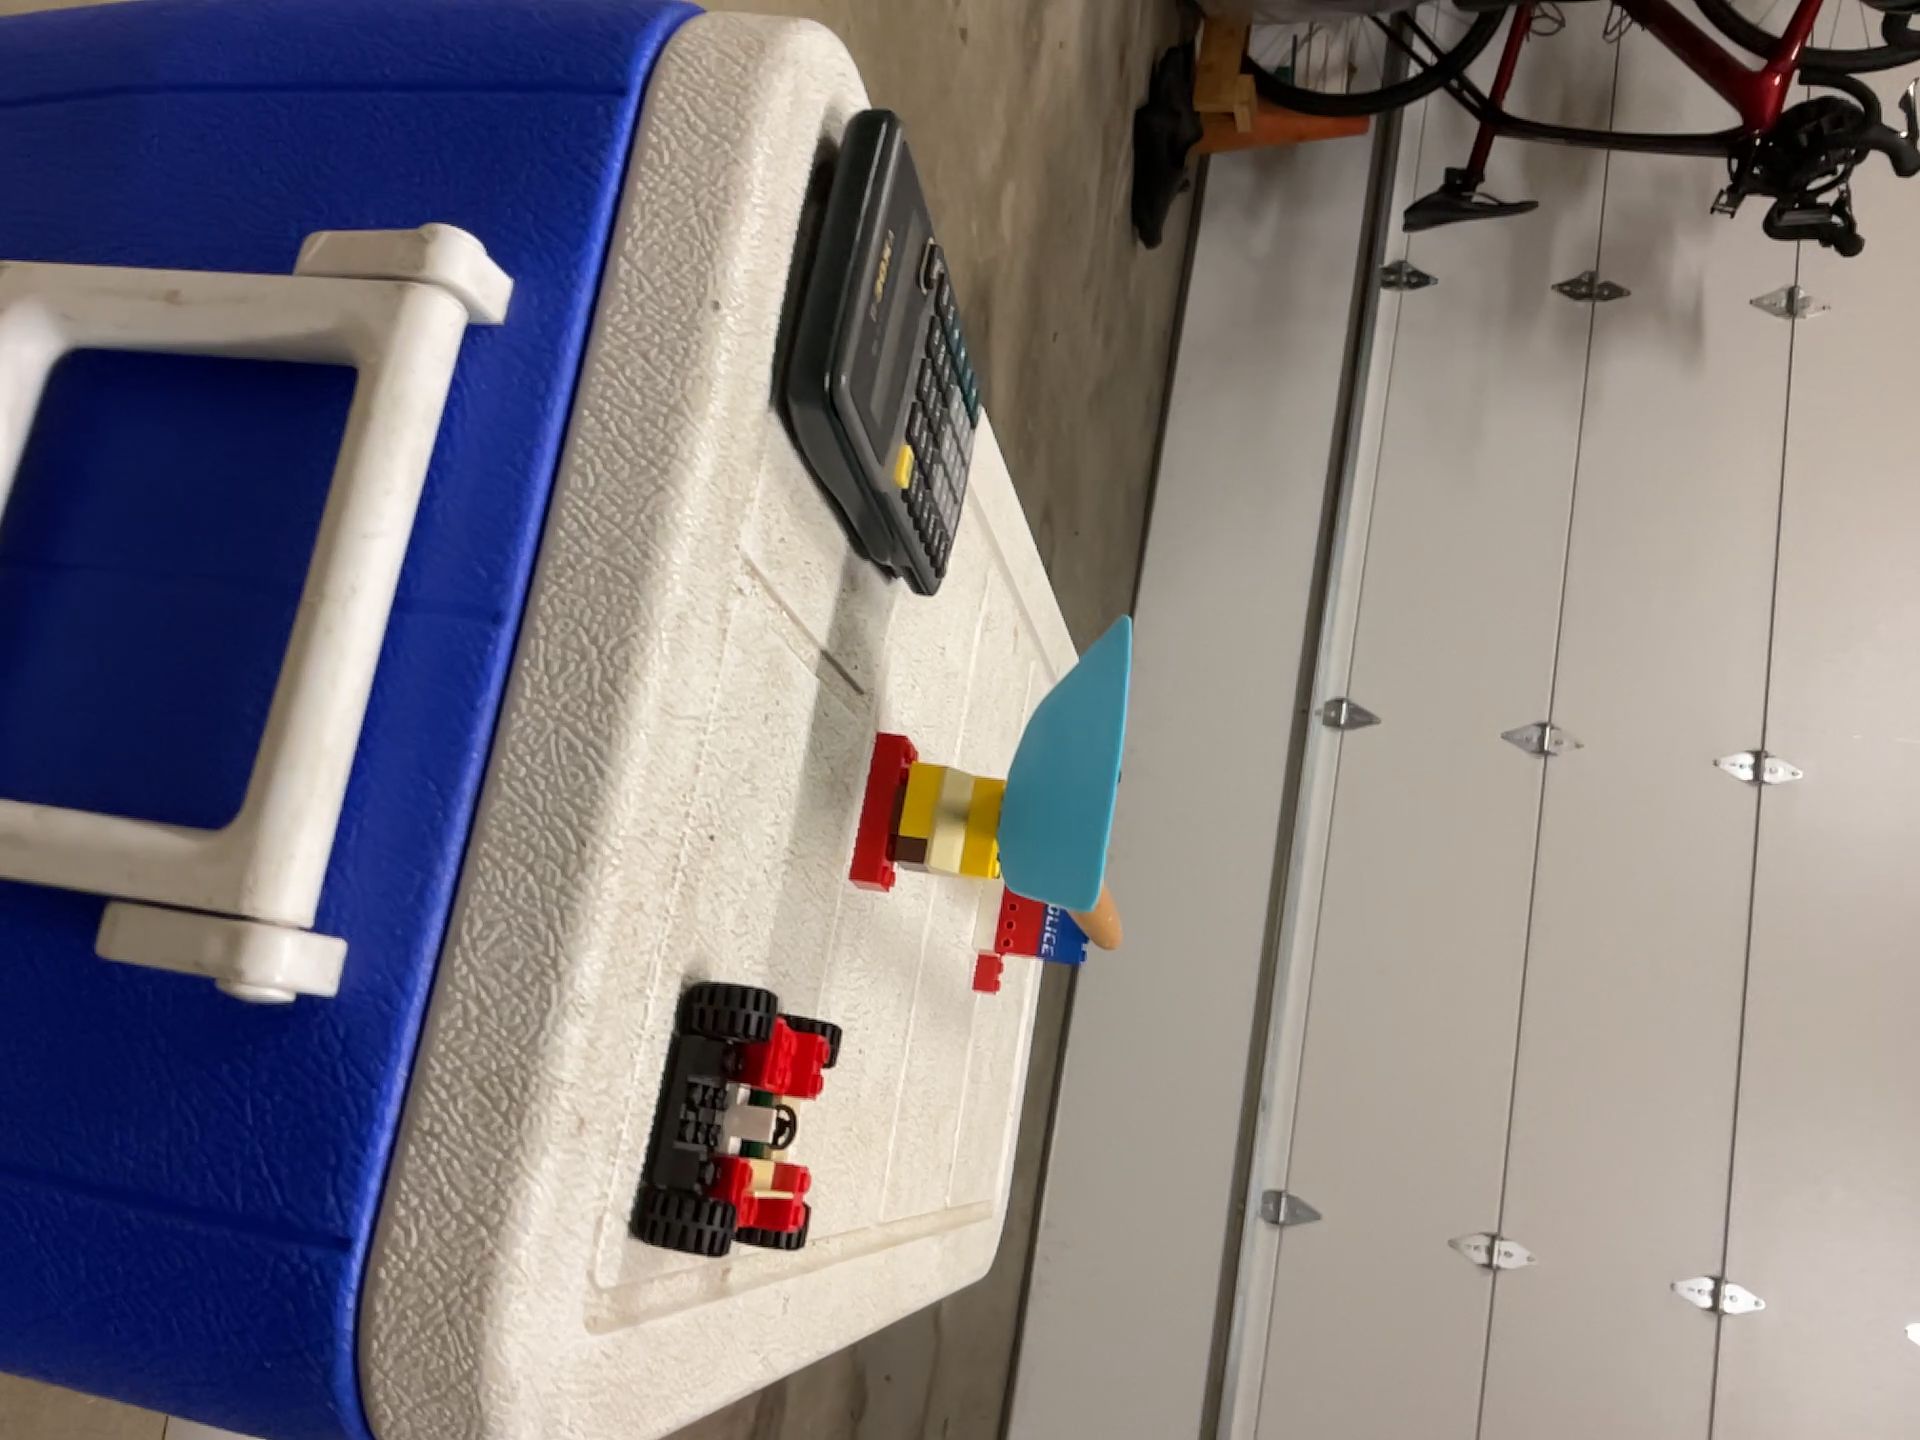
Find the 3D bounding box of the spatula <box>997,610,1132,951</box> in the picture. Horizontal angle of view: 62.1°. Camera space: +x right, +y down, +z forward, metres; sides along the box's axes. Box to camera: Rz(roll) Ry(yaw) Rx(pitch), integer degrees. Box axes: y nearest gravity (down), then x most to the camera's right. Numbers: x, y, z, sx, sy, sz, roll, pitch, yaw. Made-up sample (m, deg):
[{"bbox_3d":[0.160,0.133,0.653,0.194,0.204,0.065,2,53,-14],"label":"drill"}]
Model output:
[{"bbox_3d":[0.047,0.052,0.556,0.317,0.044,0.082,59,37,-70],"label":"spatula"}]
